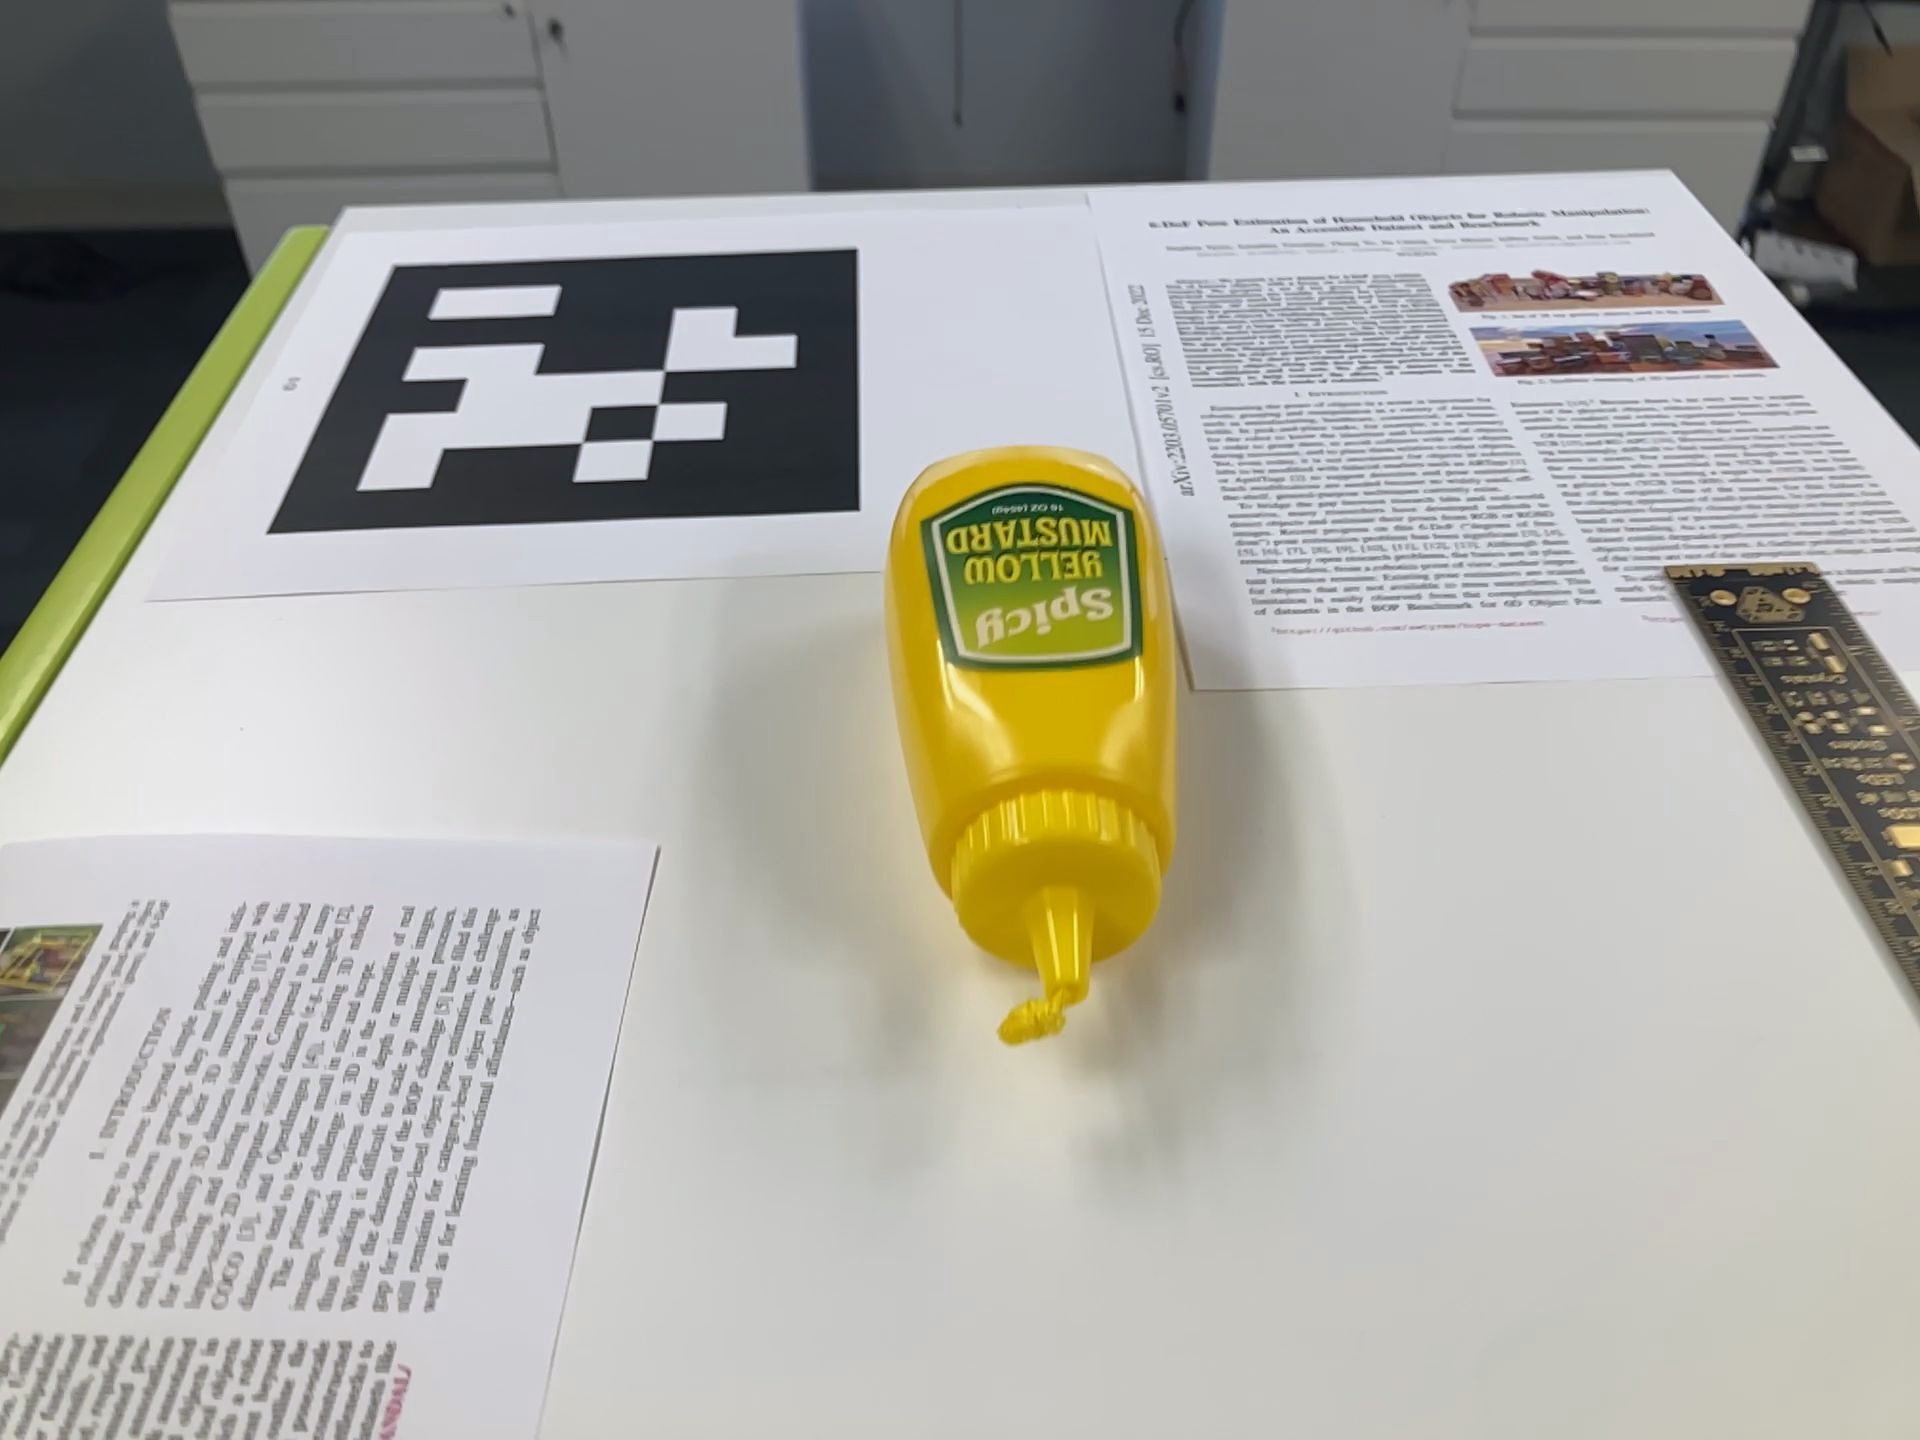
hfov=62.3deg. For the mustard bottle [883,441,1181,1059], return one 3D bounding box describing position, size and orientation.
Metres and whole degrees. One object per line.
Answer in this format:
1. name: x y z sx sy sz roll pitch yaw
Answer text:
1. mustard bottle: 0.017 0.001 0.331 0.065 0.049 0.160 -4 42 -1
